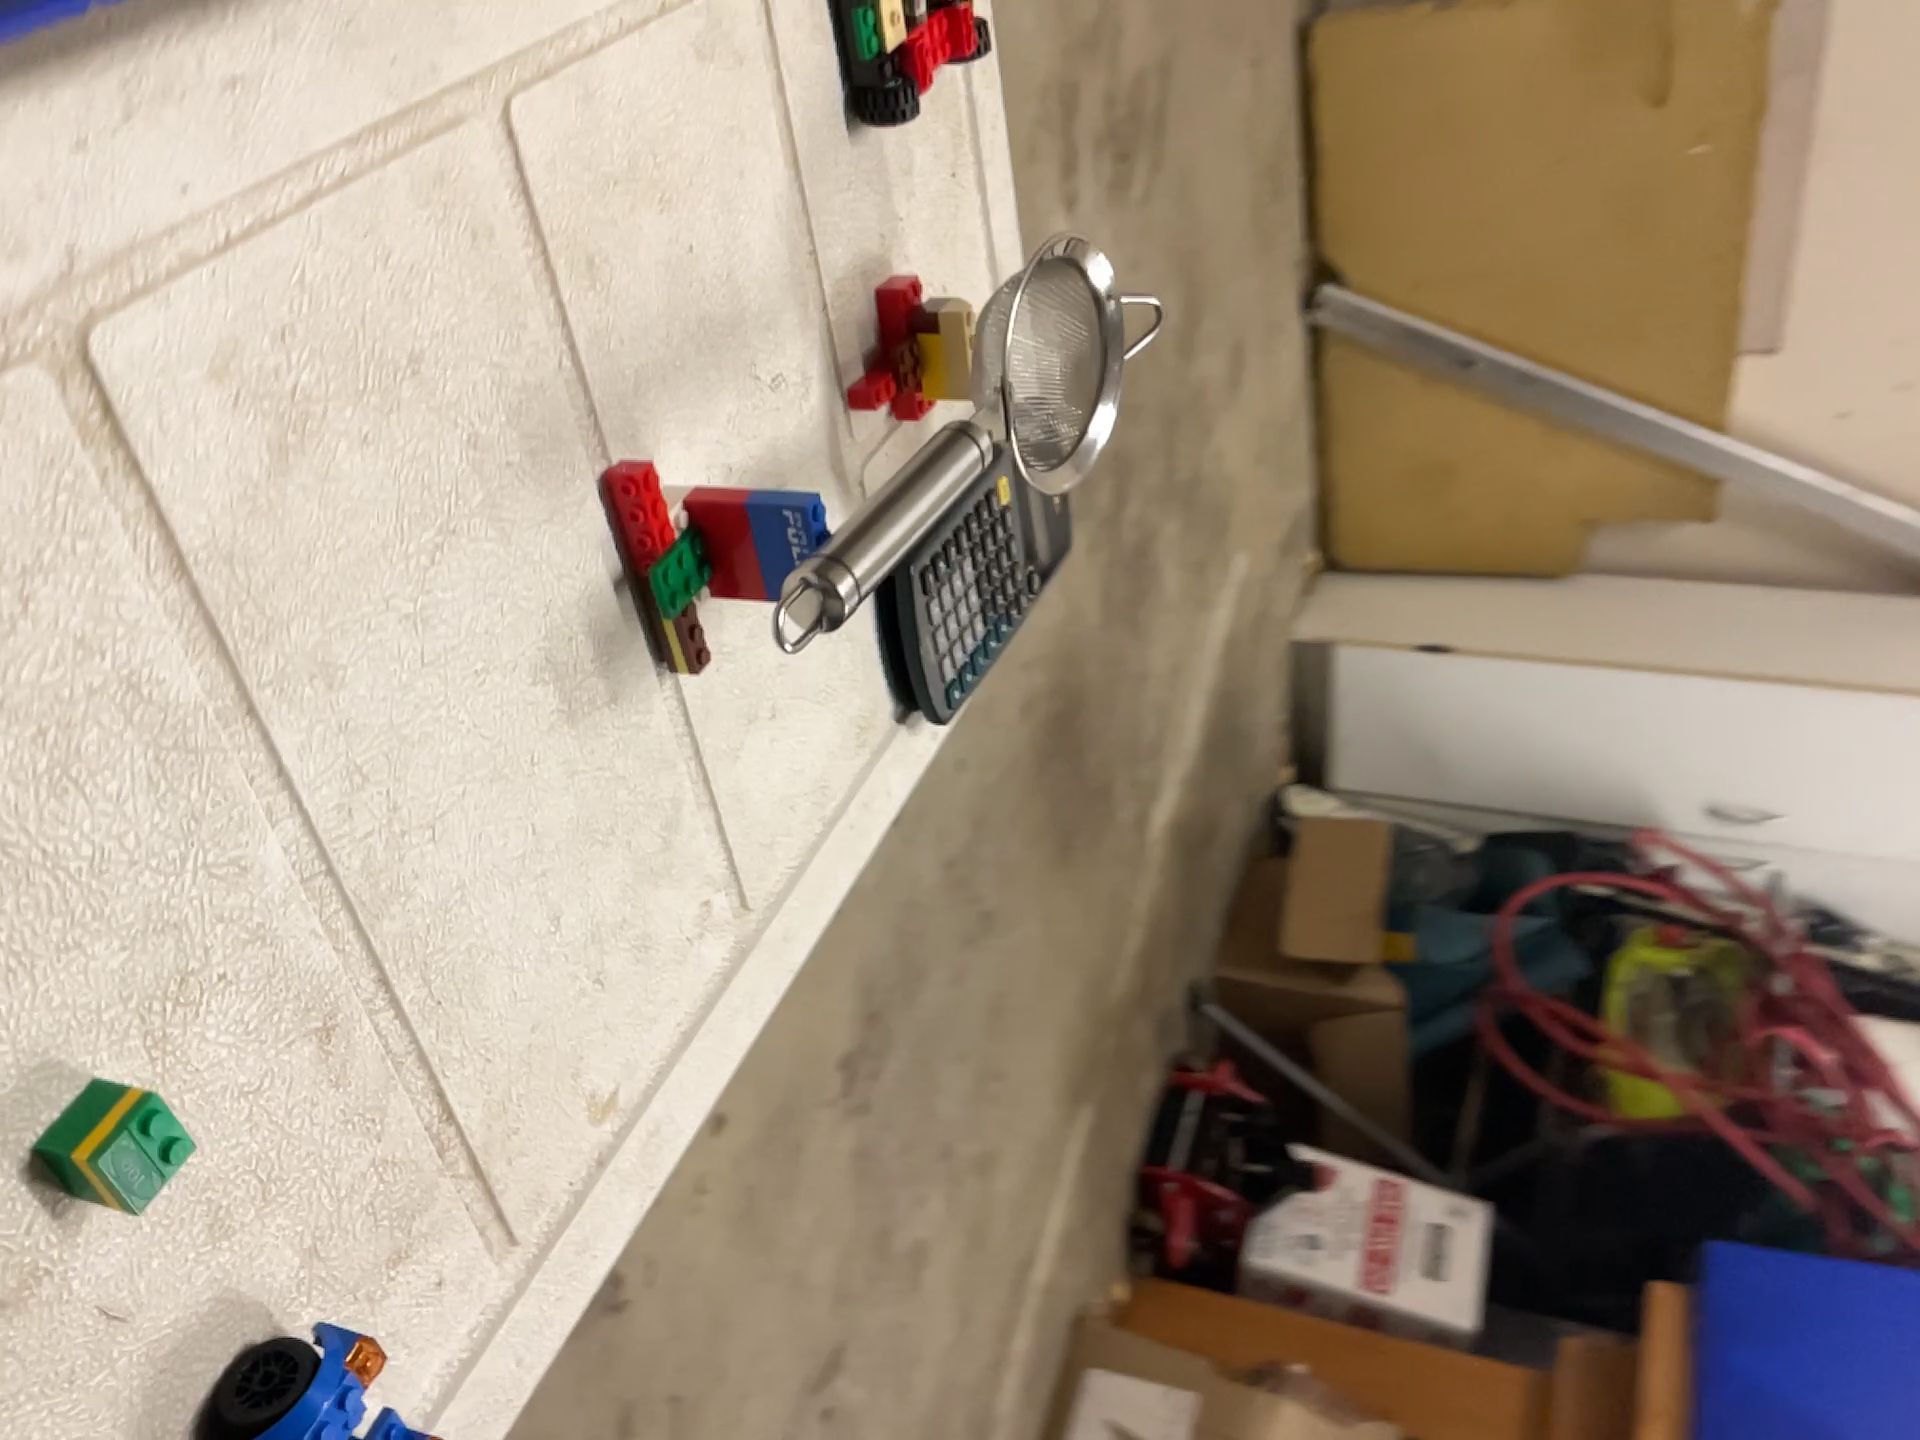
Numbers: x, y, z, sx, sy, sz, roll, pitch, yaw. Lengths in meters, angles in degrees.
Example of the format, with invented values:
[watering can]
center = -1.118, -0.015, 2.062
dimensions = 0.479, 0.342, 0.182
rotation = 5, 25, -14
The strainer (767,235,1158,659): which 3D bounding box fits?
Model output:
[strainer]
center = 0.001, -0.087, 0.496
dimensions = 0.259, 0.050, 0.086
rotation = -53, 142, -51
